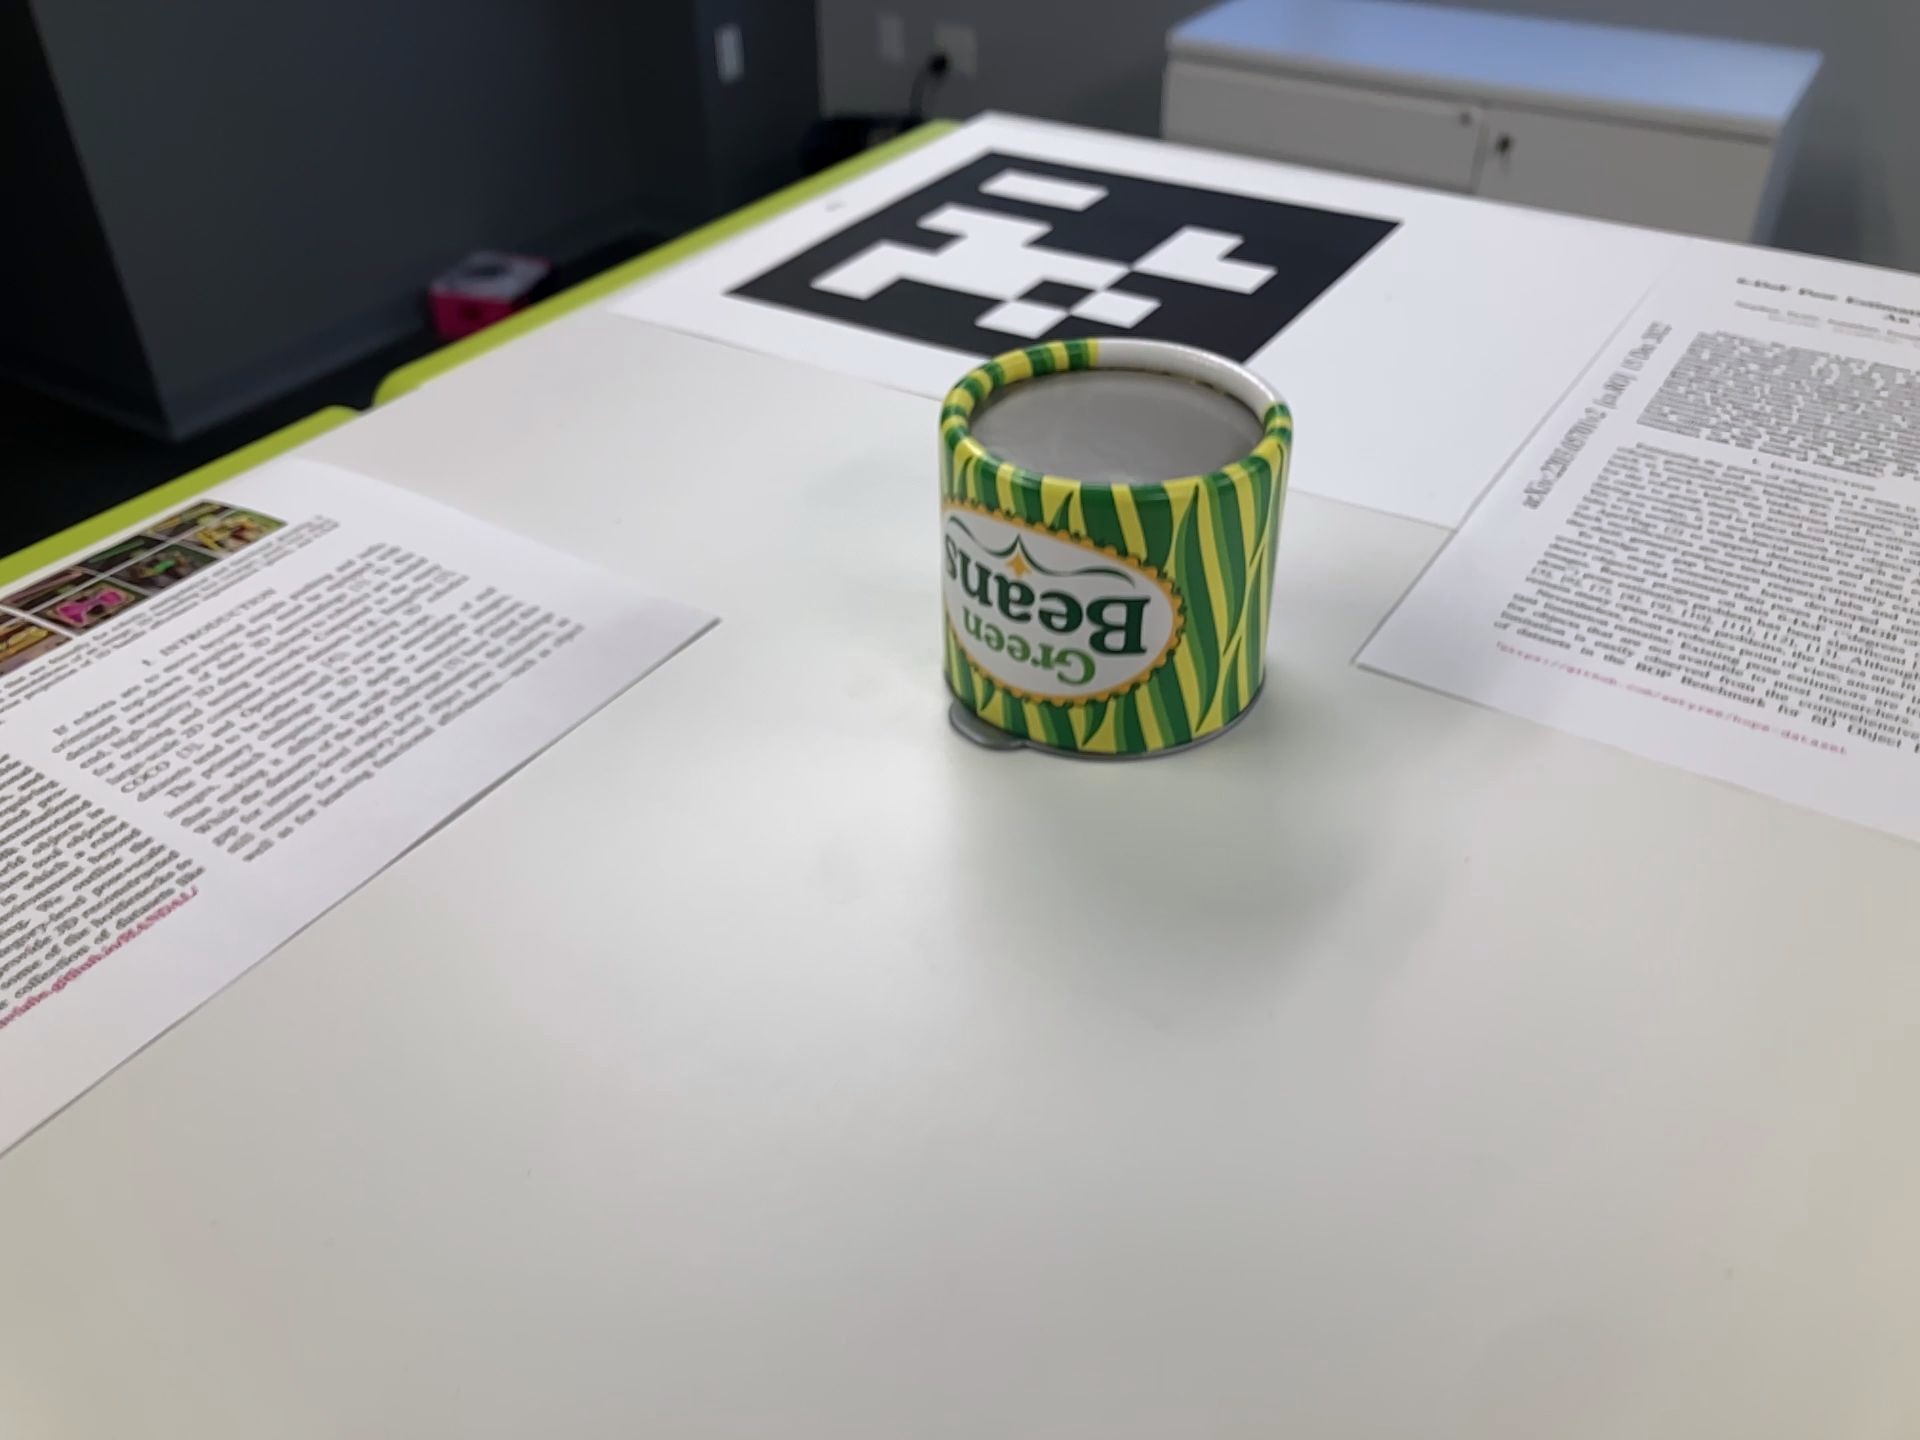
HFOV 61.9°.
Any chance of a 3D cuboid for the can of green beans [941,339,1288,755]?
[{"bbox_3d":[0.029,-0.036,0.317,0.071,0.058,0.071,-1,37,1],"label":"can of green beans"}]
